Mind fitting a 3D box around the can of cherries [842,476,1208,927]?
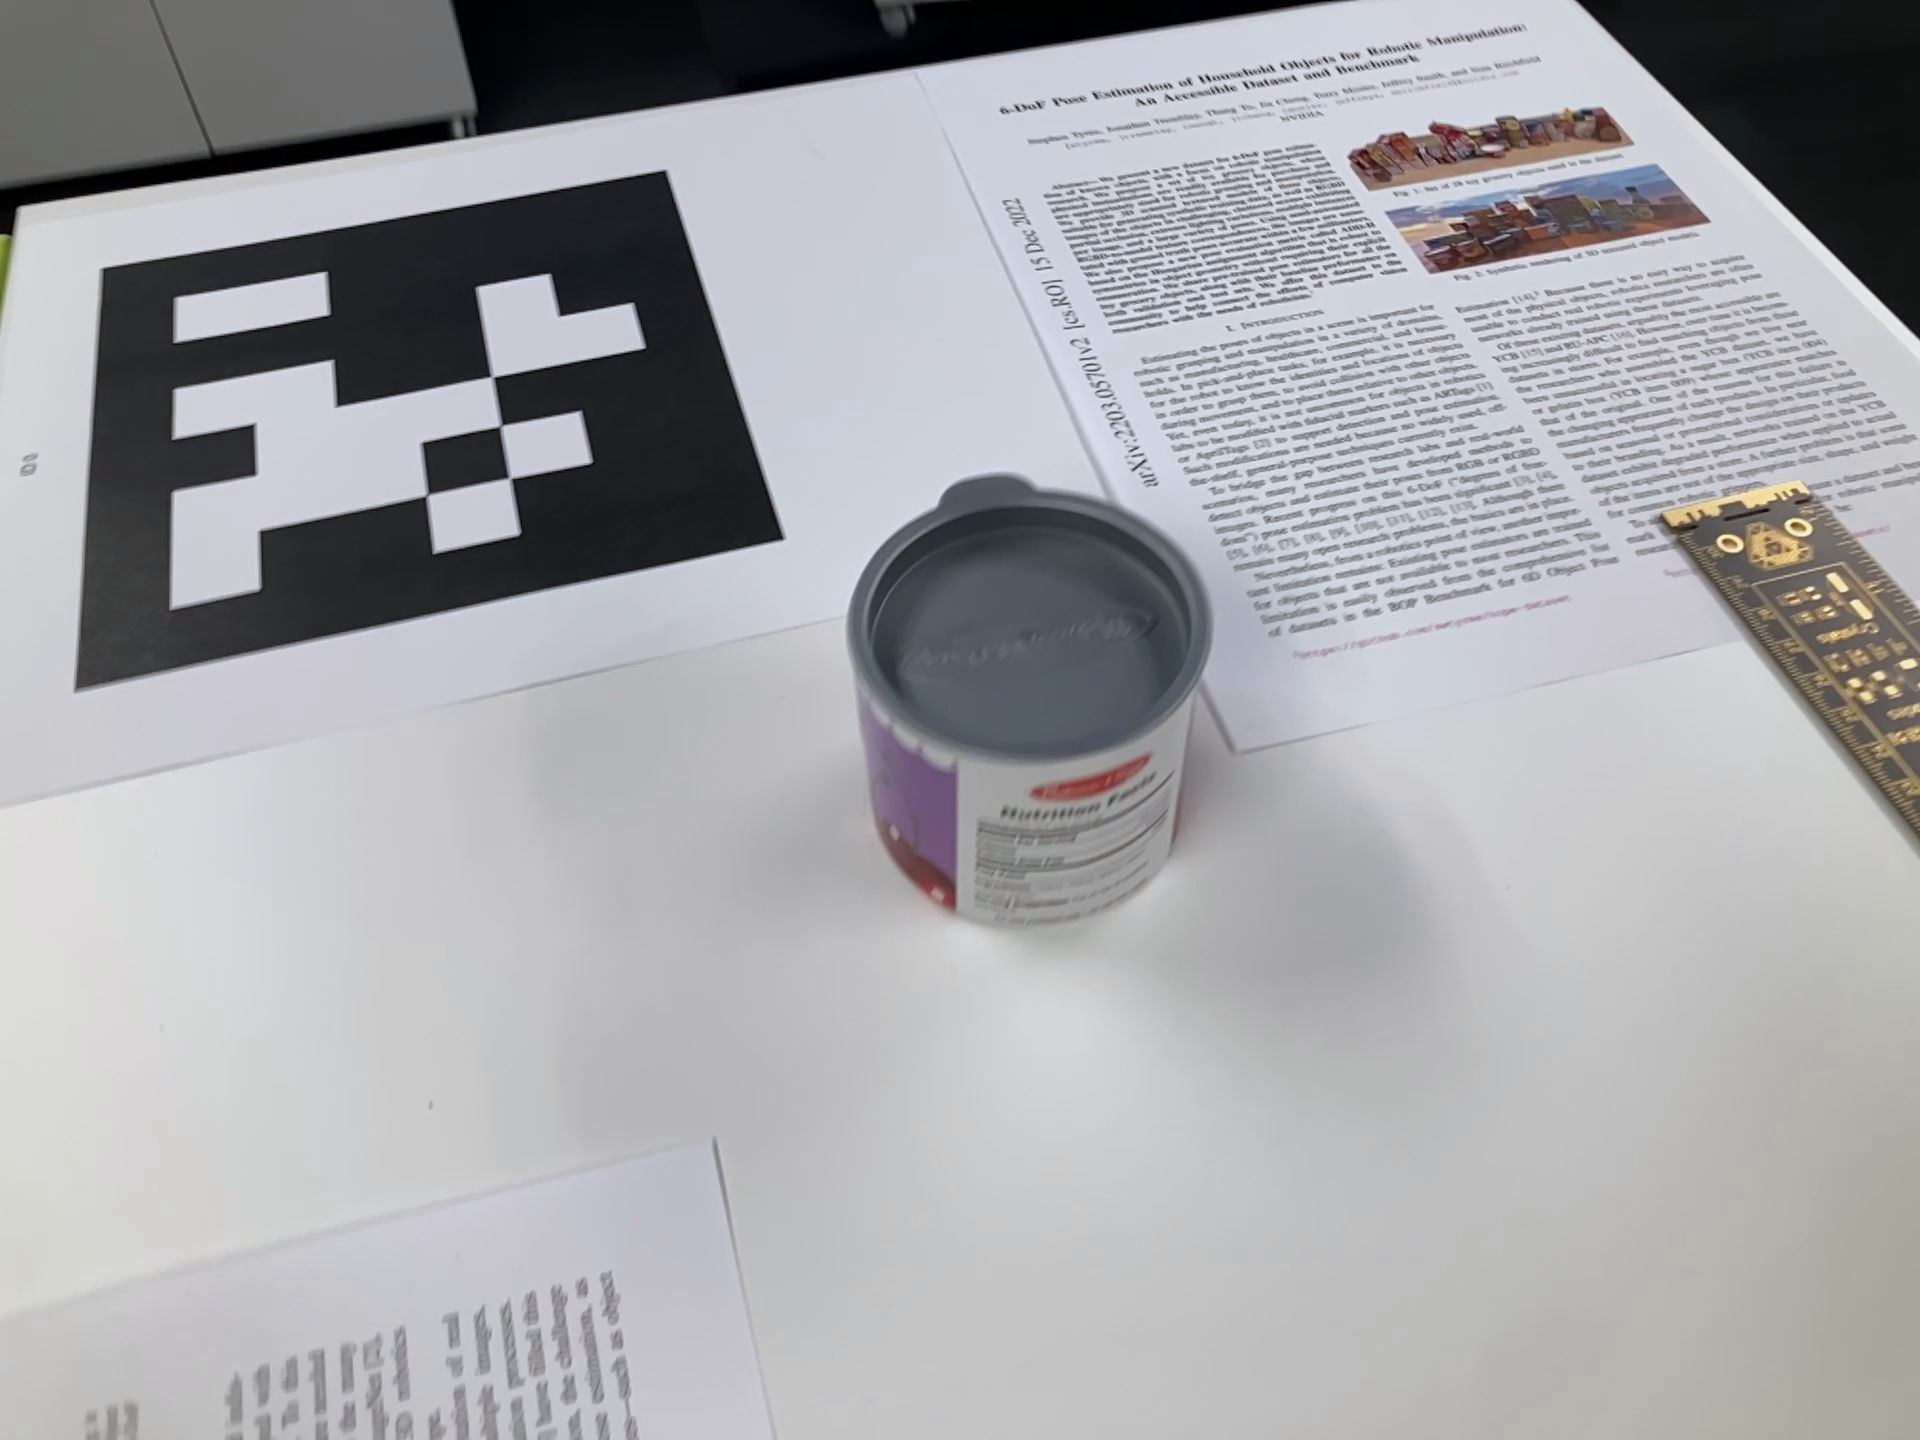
[{"bbox_3d":[0.012,-0.004,0.310,0.071,0.058,0.071,-1,52,1],"label":"can of cherries"}]
